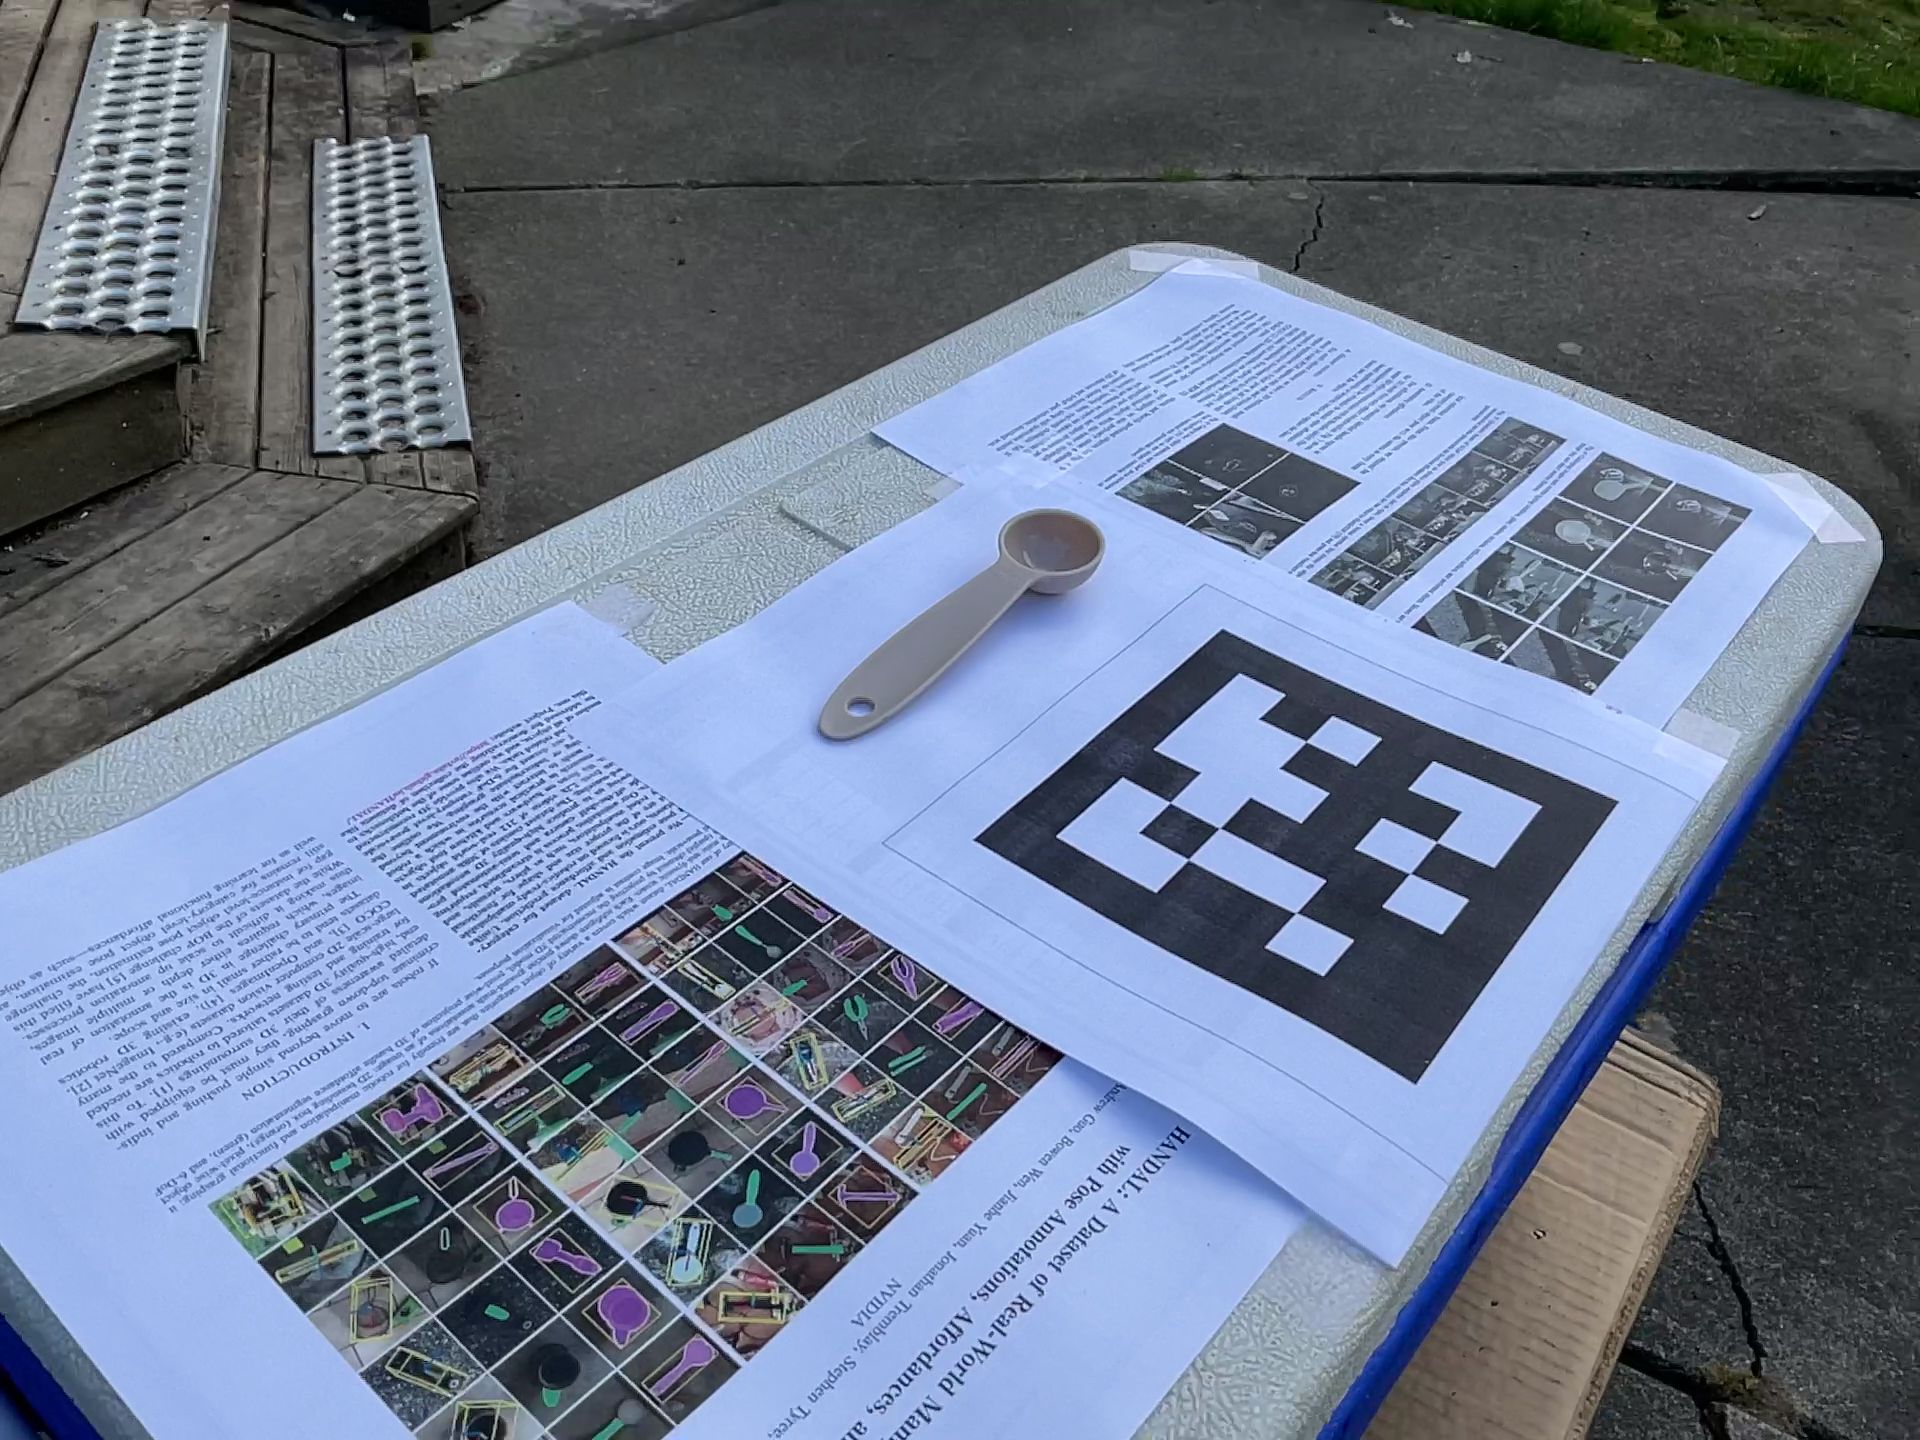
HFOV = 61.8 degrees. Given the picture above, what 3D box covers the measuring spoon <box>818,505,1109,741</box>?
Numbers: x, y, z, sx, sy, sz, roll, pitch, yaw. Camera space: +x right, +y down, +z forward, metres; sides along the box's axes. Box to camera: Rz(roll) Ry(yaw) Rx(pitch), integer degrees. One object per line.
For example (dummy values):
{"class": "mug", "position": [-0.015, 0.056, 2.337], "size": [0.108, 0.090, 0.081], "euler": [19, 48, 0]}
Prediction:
{"class": "measuring spoon", "position": [0.001, -0.027, 0.483], "size": [0.034, 0.018, 0.124], "euler": [31, 53, 25]}
